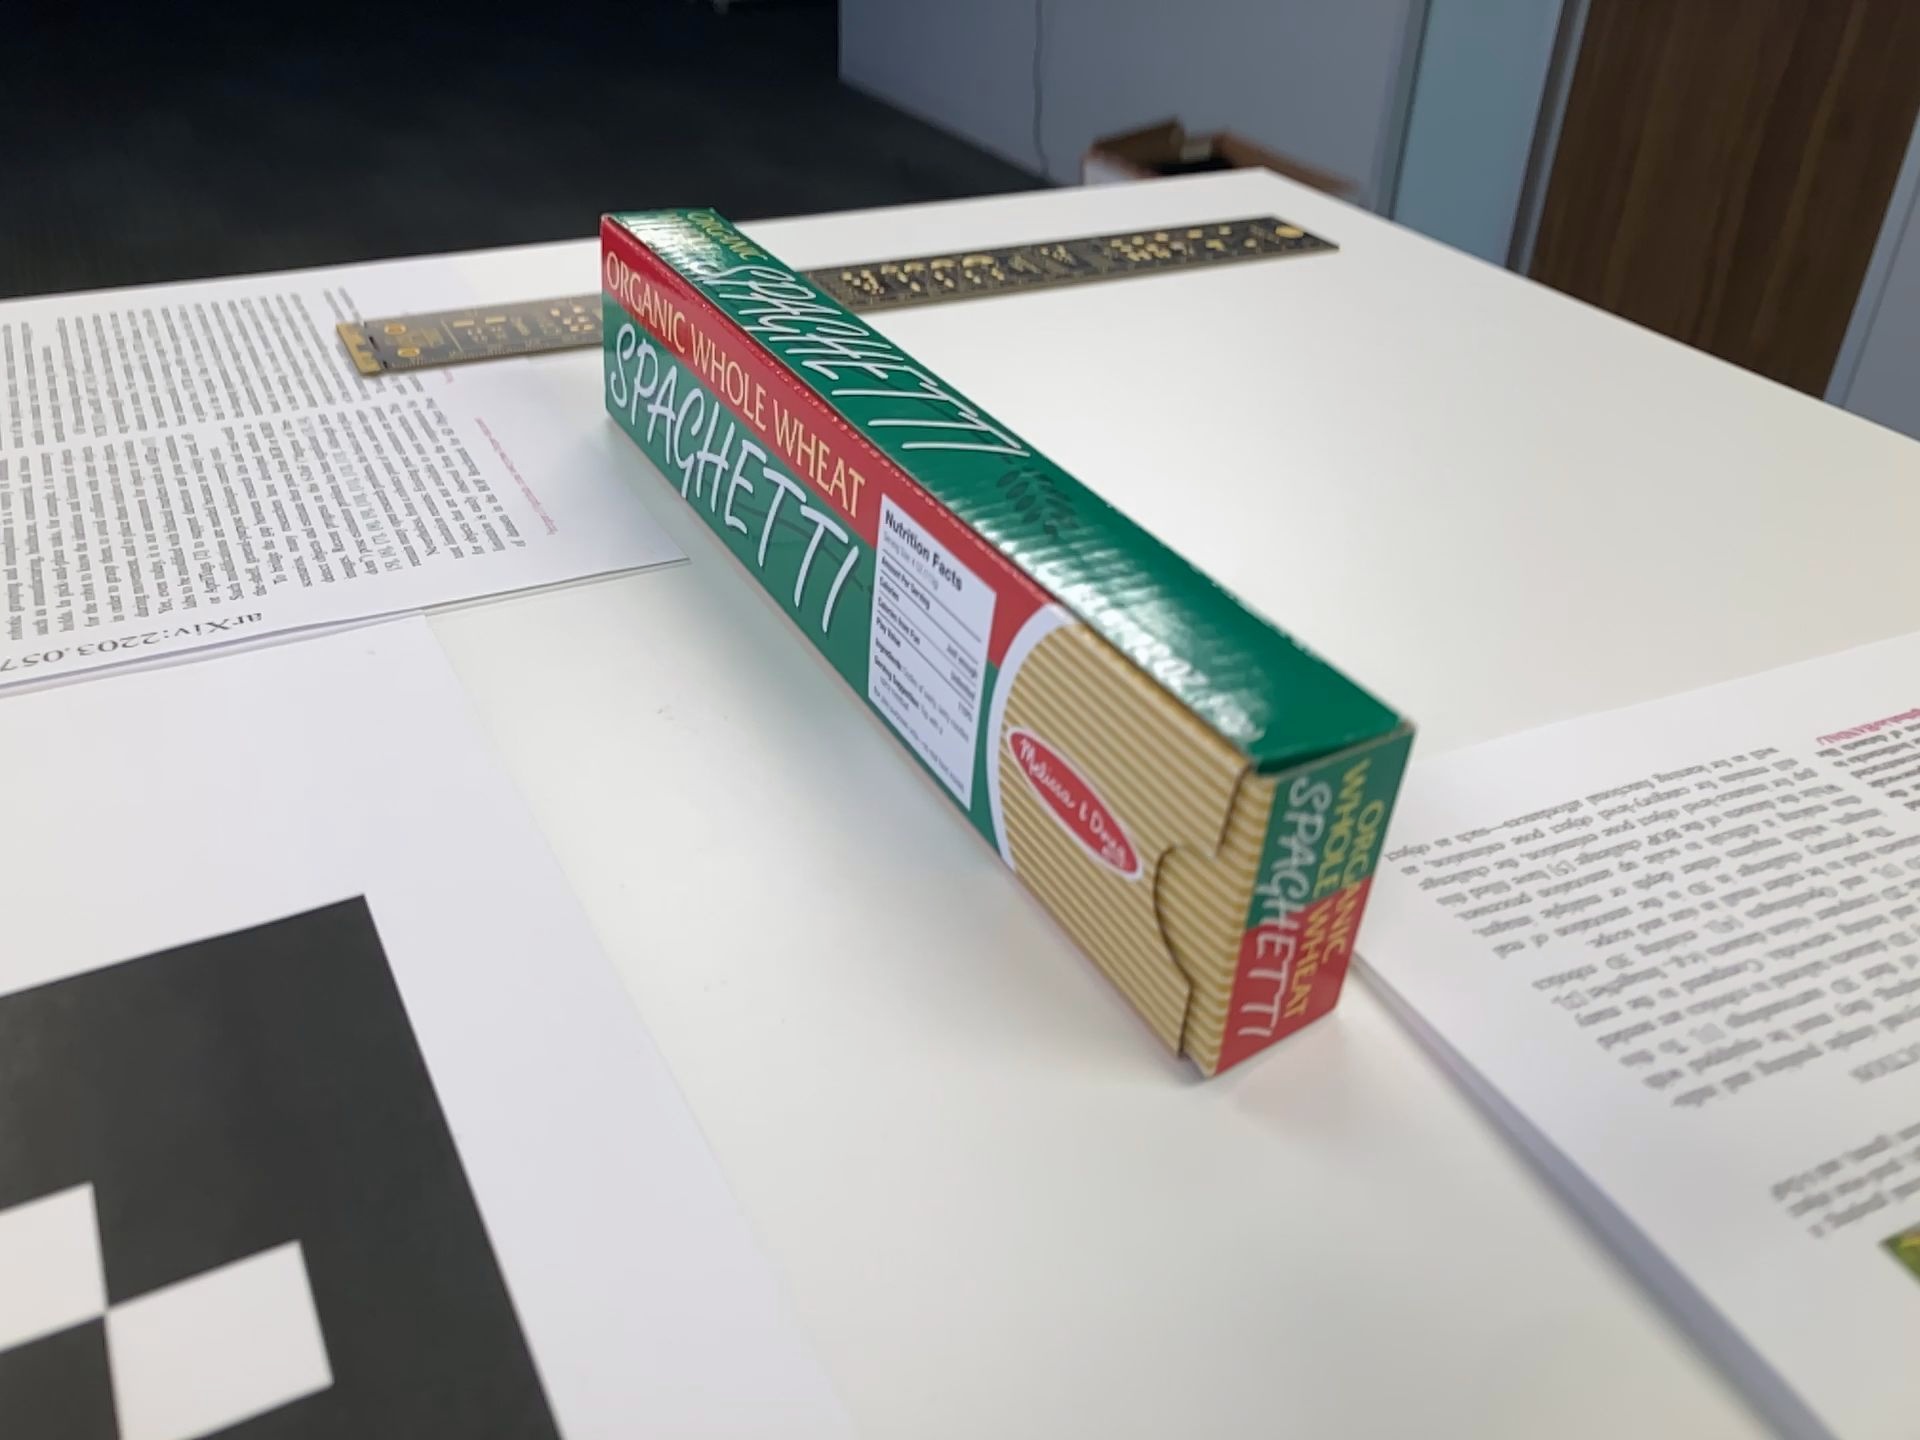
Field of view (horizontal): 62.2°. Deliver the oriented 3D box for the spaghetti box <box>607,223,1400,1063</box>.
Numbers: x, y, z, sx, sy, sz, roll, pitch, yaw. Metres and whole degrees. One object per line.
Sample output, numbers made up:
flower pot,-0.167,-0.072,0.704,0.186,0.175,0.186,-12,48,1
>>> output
spaghetti box,-0.016,-0.038,0.299,0.028,0.050,0.250,-11,35,-27
